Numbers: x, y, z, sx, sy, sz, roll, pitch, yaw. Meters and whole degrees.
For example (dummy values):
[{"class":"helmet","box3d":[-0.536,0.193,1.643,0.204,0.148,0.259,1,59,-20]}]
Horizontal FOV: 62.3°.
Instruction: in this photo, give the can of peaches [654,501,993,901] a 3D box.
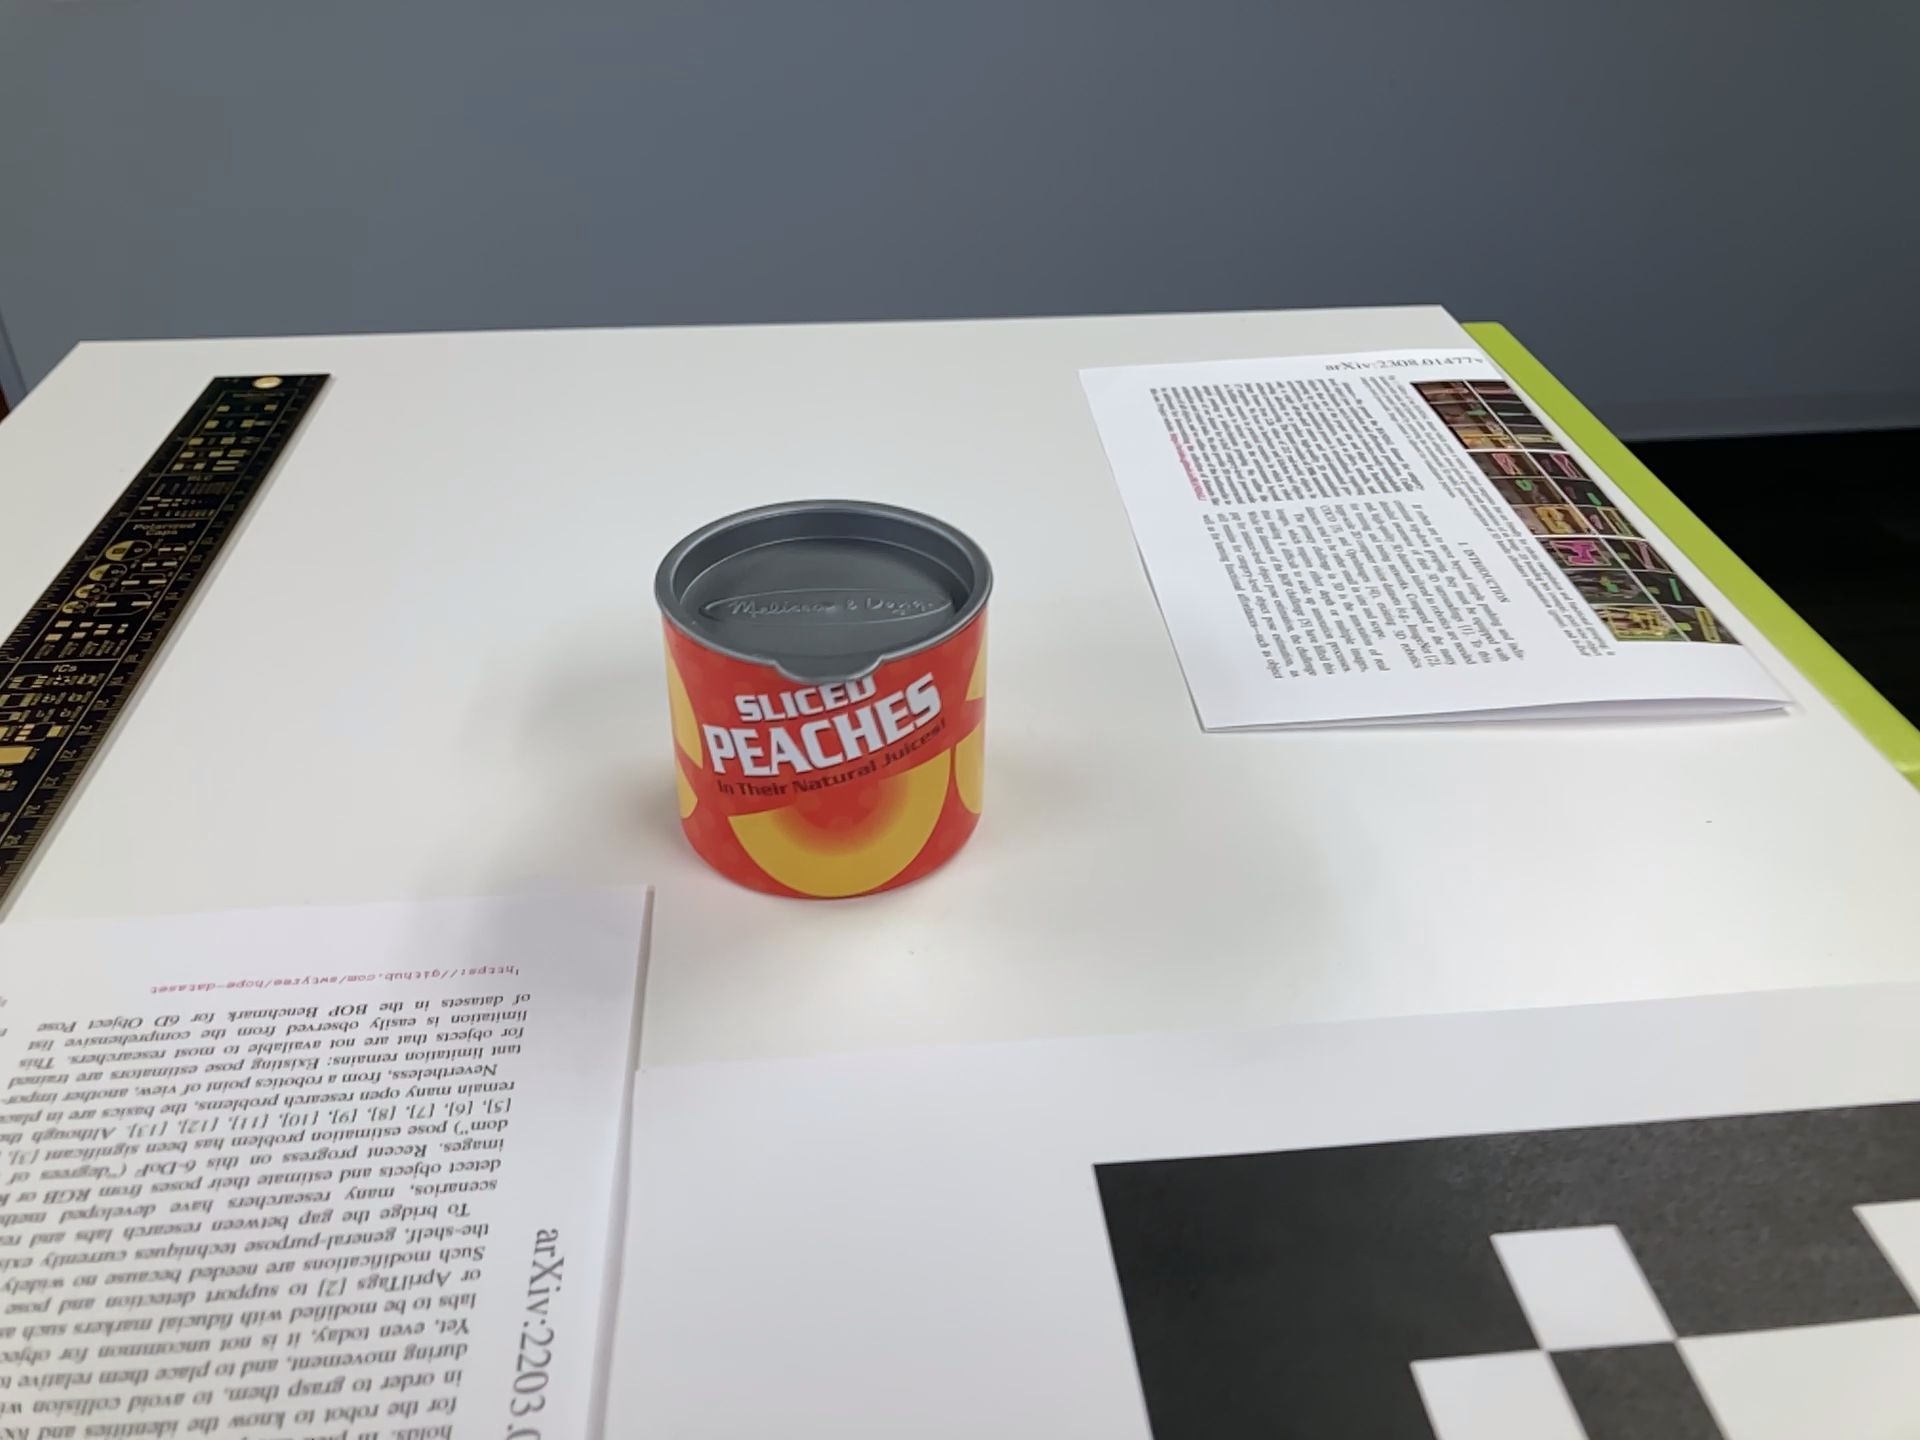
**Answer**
[{"class":"can of peaches","box3d":[-0.027,-0.004,0.326,0.071,0.058,0.071,1,35,-1]}]
